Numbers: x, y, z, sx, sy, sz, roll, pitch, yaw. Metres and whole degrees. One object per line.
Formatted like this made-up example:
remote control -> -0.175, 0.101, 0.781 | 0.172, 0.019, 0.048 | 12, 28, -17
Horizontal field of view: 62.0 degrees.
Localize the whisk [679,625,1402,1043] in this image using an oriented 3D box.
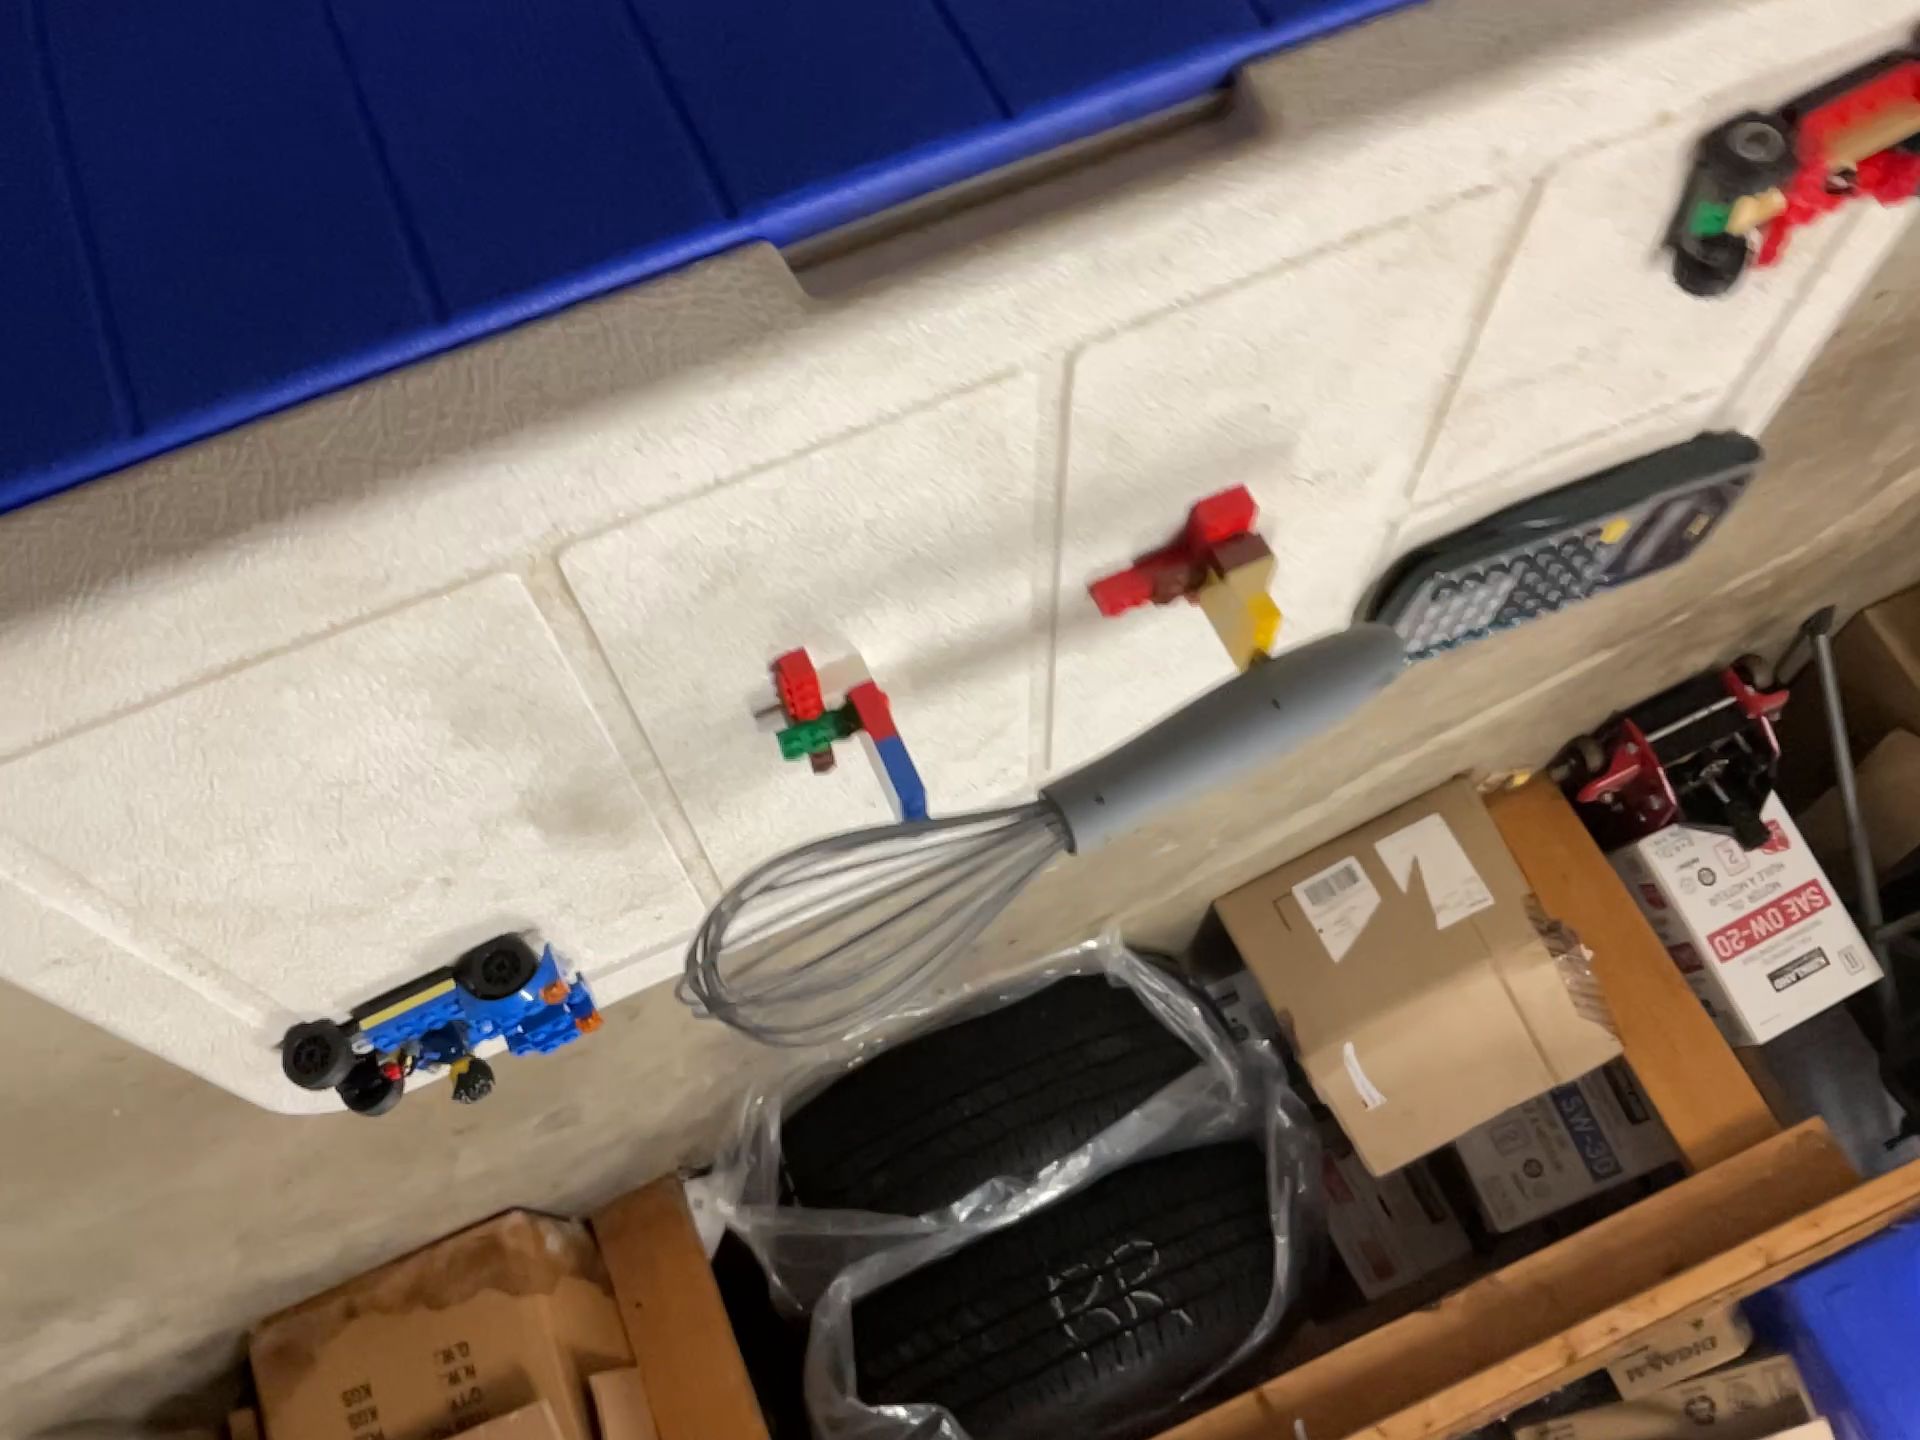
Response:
whisk -> 0.028, 0.027, 0.461 | 0.239, 0.055, 0.055 | -25, 159, -14
